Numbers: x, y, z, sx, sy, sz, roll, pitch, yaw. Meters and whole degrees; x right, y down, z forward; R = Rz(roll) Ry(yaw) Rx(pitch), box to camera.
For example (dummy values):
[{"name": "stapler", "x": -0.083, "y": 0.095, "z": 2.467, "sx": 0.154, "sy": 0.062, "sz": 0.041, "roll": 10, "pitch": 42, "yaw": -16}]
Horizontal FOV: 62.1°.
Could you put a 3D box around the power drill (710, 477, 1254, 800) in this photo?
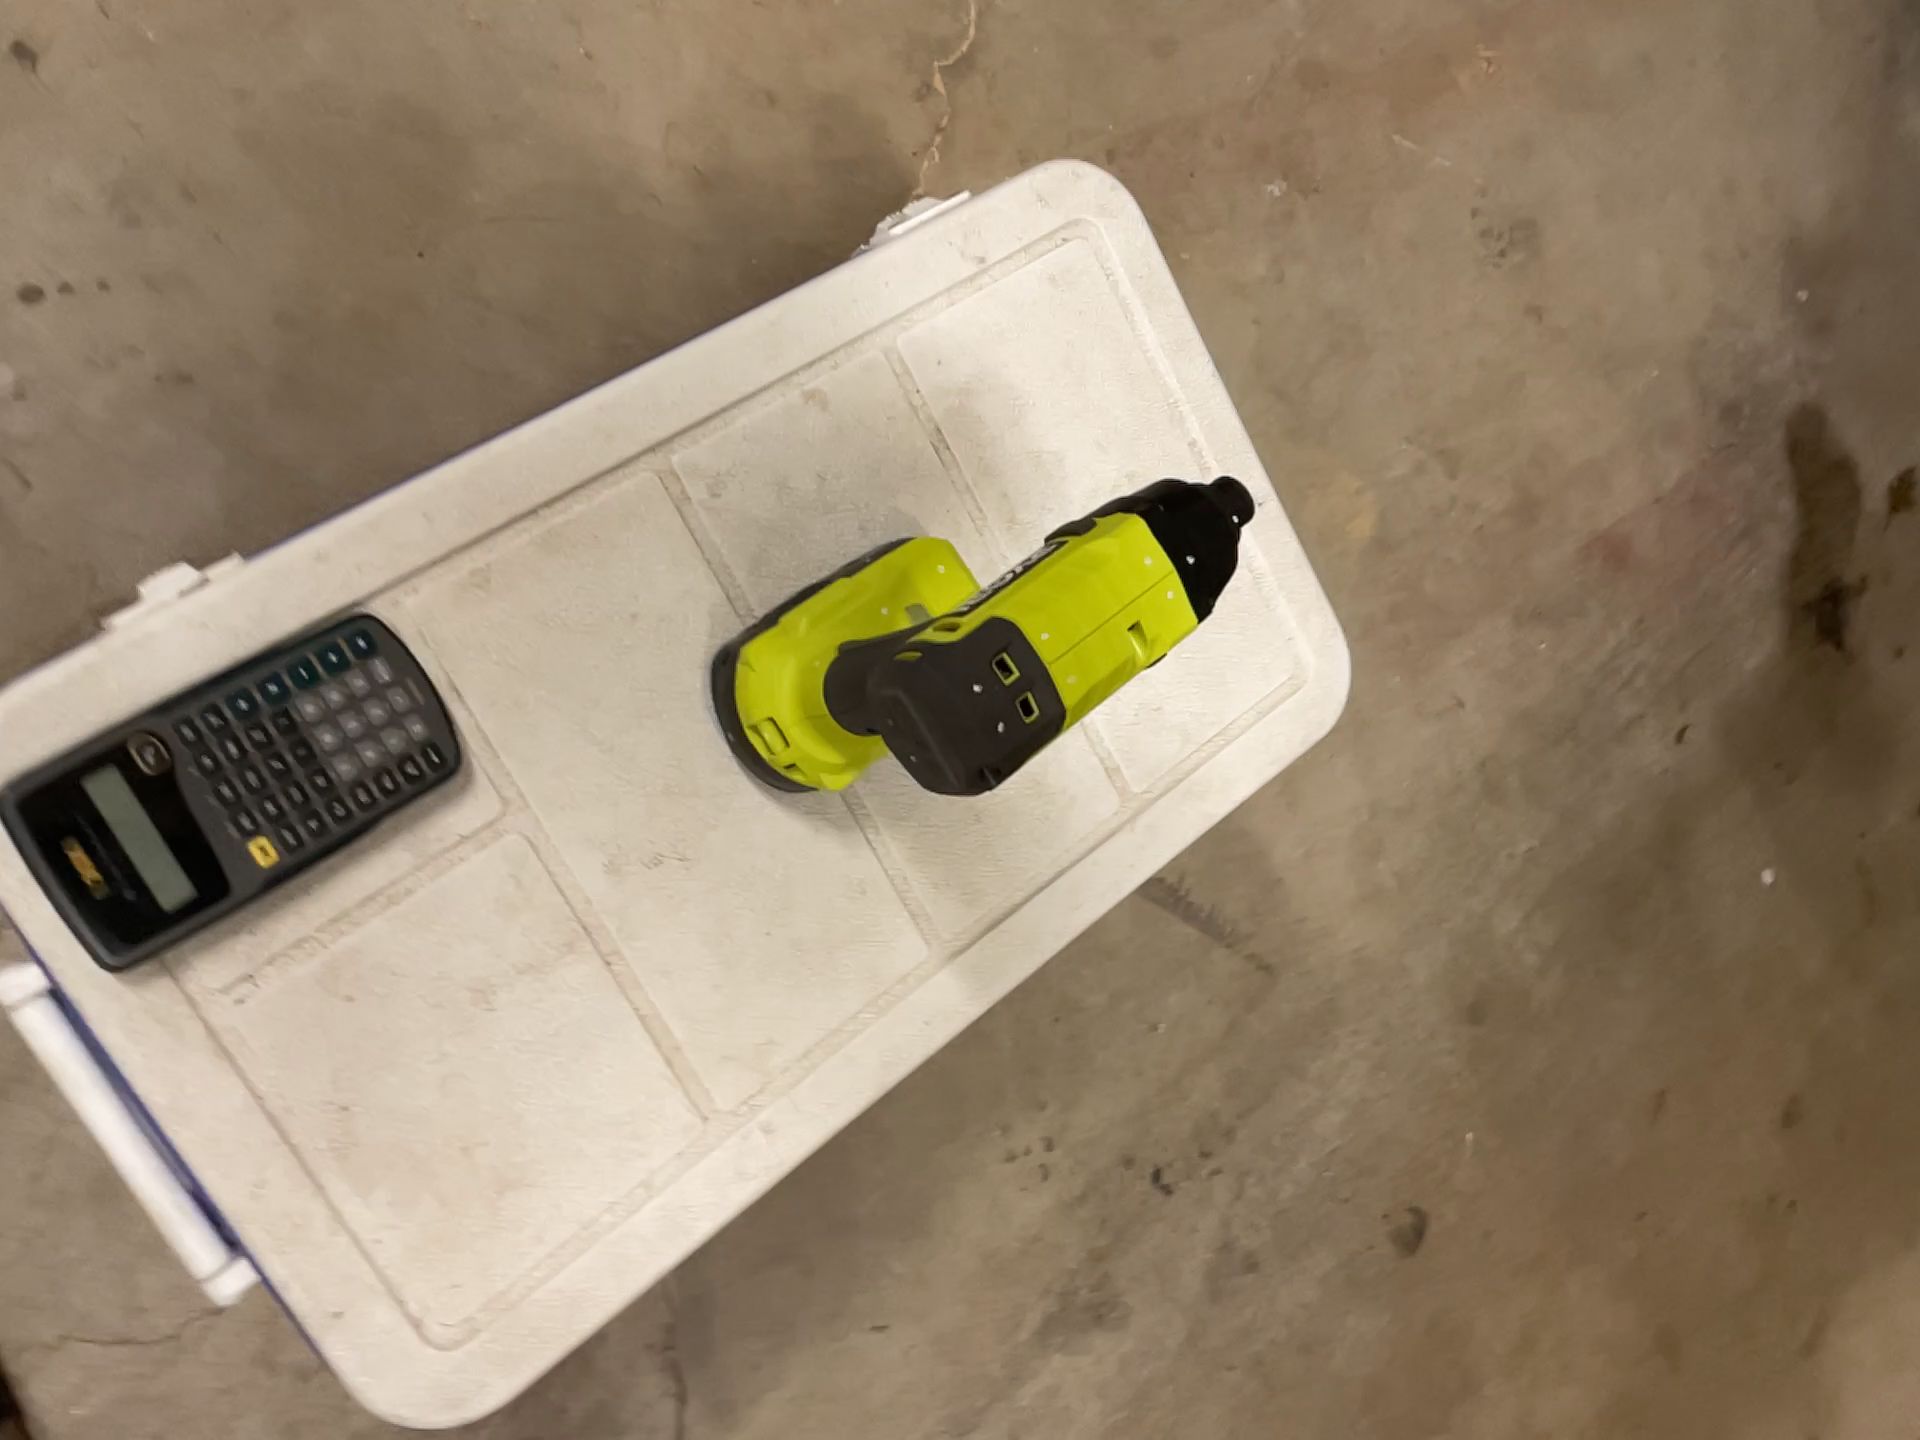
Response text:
[{"name": "power drill", "x": 0.004, "y": -0.034, "z": 0.647, "sx": 0.171, "sy": 0.223, "sz": 0.080, "roll": -37, "pitch": 106, "yaw": -27}]
